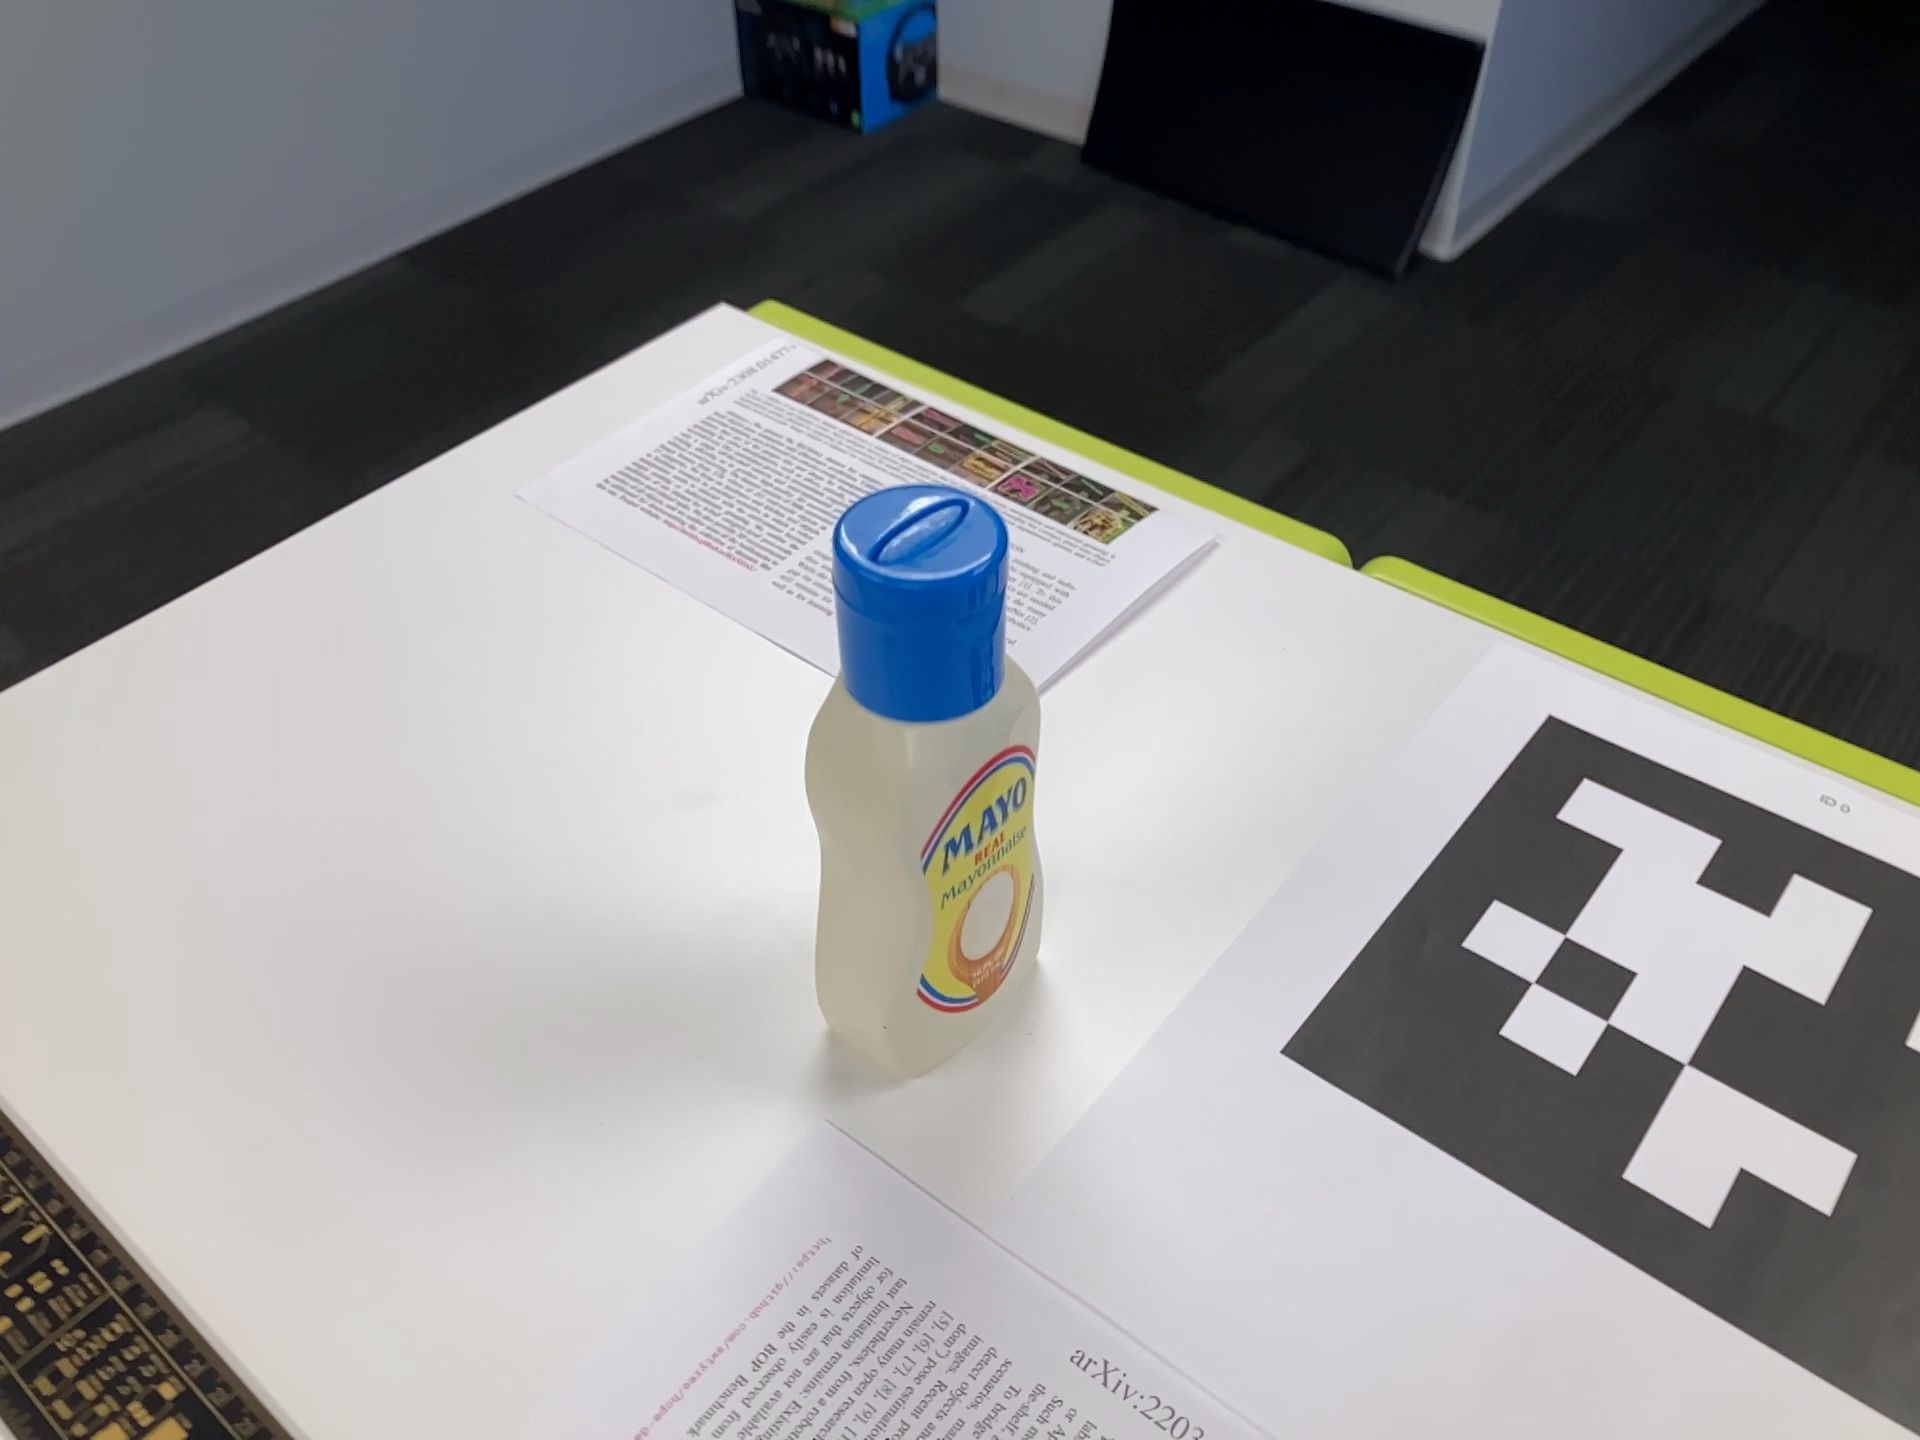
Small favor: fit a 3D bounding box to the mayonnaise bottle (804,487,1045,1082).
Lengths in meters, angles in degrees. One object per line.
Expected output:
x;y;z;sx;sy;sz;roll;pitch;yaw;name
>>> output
-0.007;0.018;0.366;0.041;0.148;0.065;29;50;28;mayonnaise bottle
